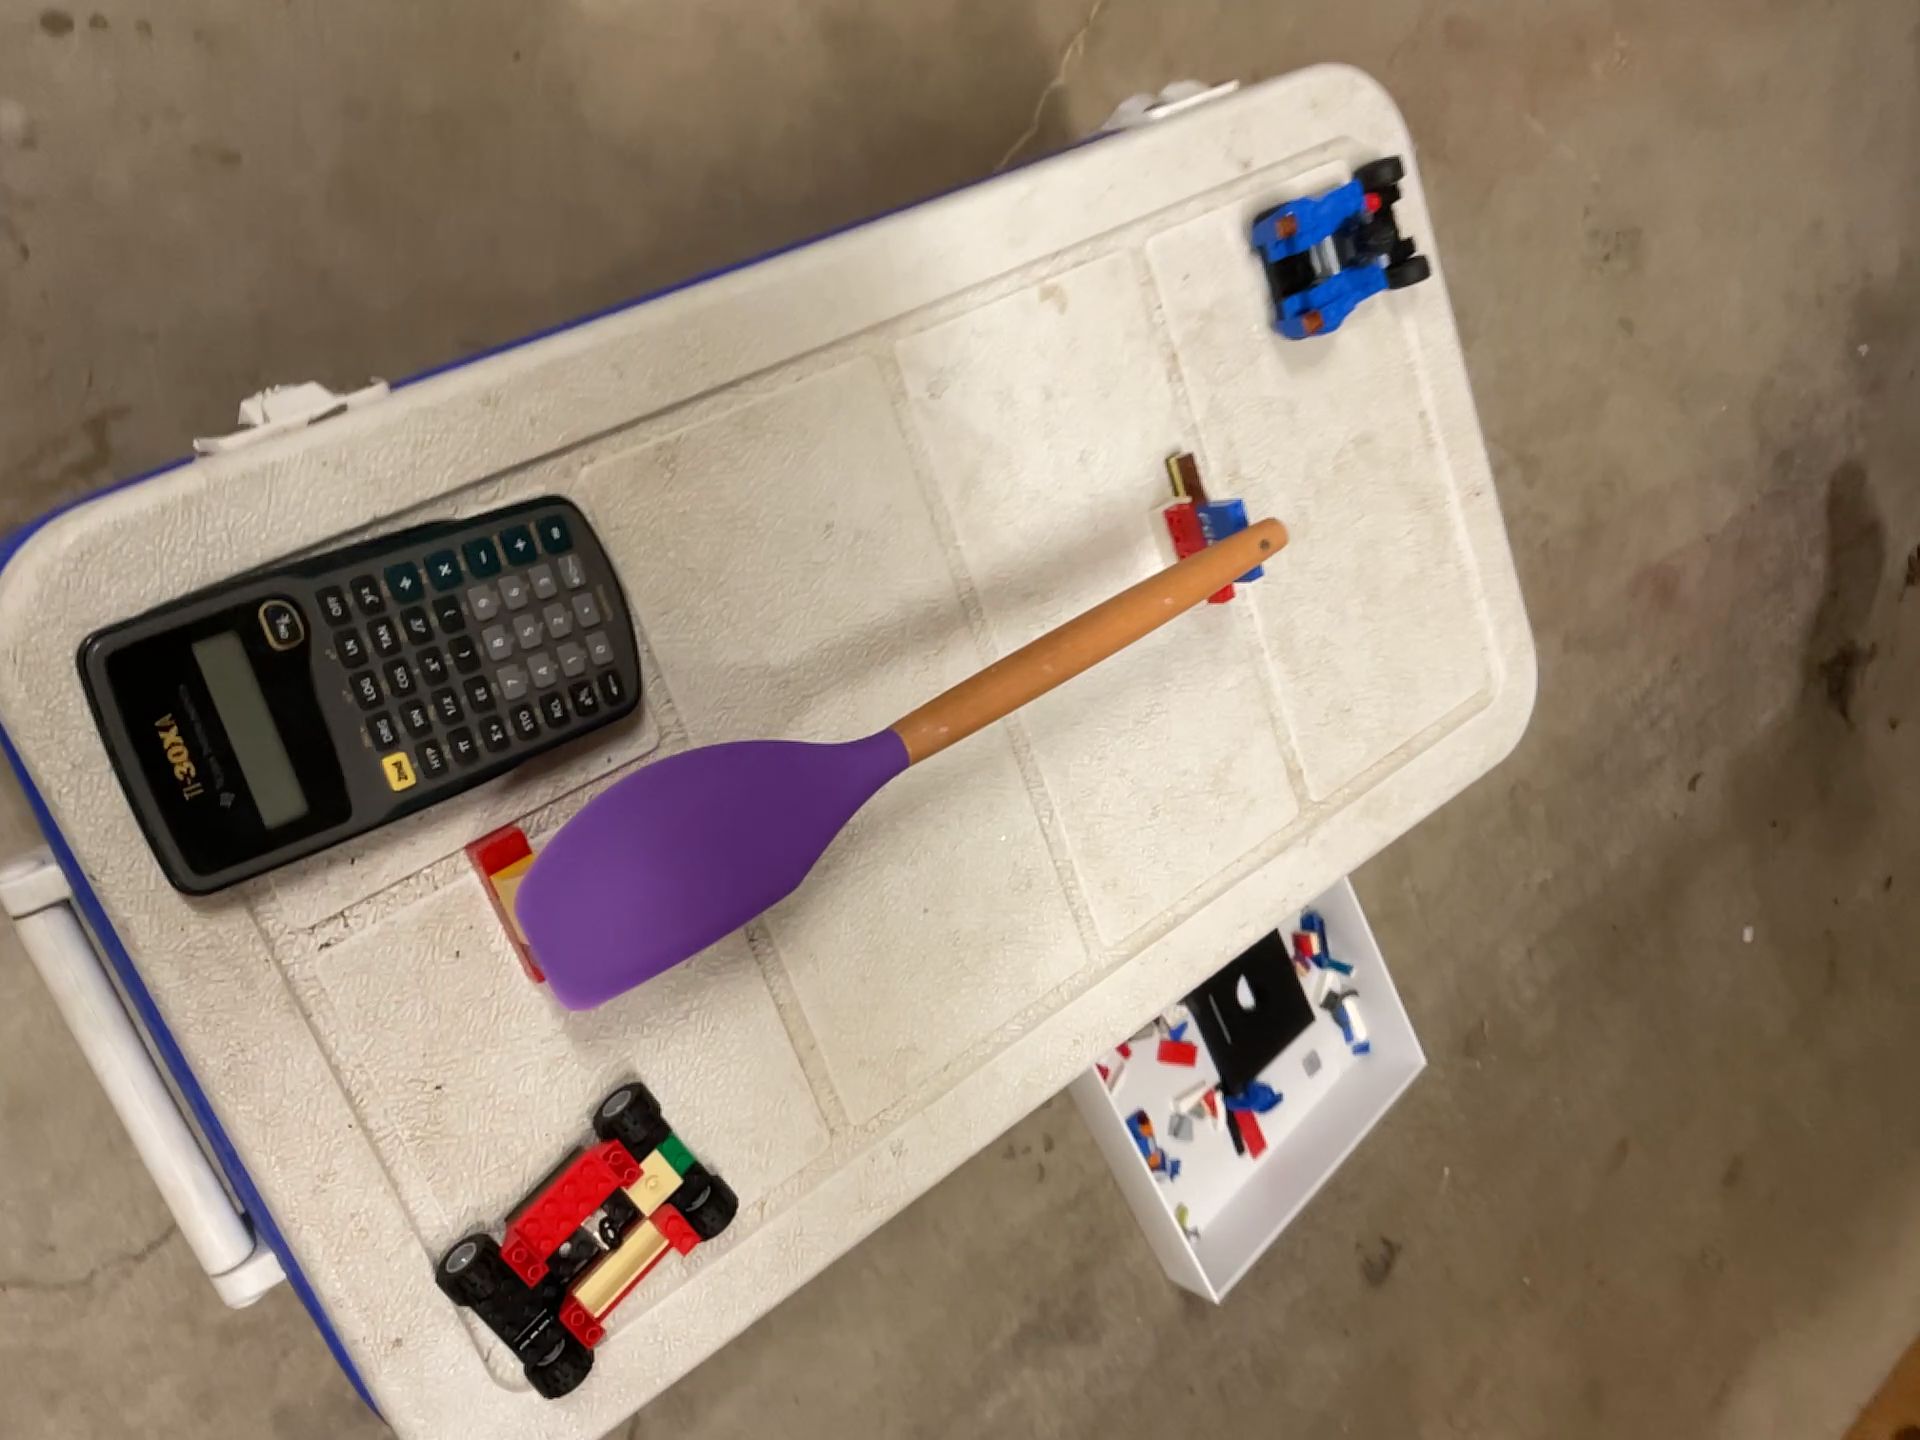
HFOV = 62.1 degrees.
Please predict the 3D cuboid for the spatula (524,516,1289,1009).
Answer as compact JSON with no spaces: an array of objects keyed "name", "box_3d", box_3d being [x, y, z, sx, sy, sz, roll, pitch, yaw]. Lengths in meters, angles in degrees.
[{"name":"spatula","box_3d":[-0.001,-0.005,0.536,0.316,0.018,0.059,-29,110,-28]}]
